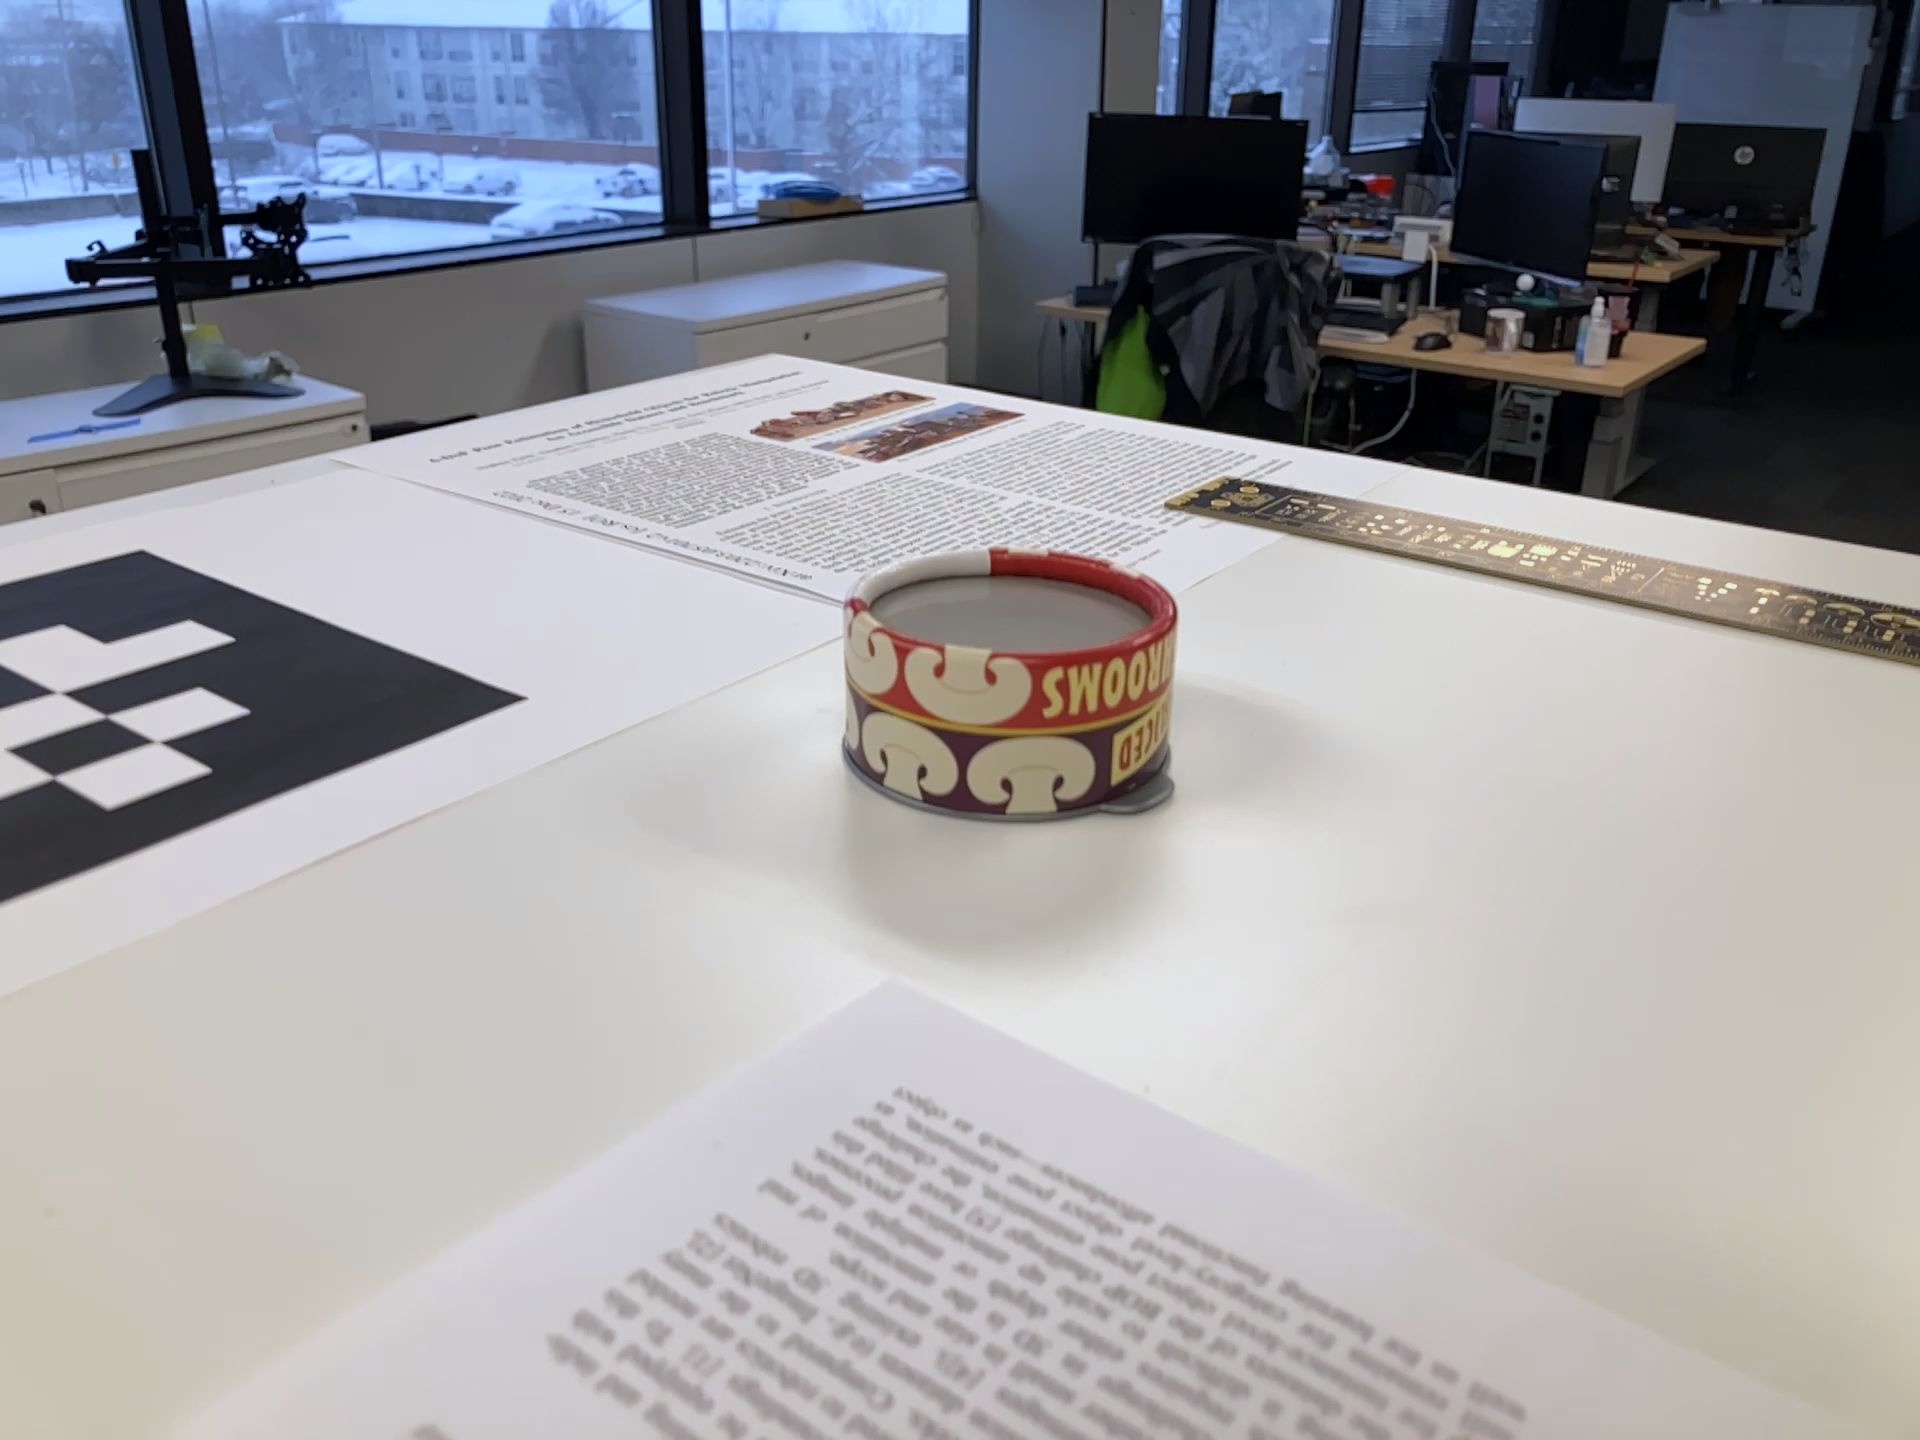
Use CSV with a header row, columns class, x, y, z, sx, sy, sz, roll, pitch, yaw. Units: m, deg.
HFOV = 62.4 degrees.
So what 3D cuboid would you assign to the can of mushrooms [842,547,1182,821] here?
class,x,y,z,sx,sy,sz,roll,pitch,yaw
can of mushrooms,0.012,-0.009,0.311,0.071,0.033,0.071,2,23,-1
